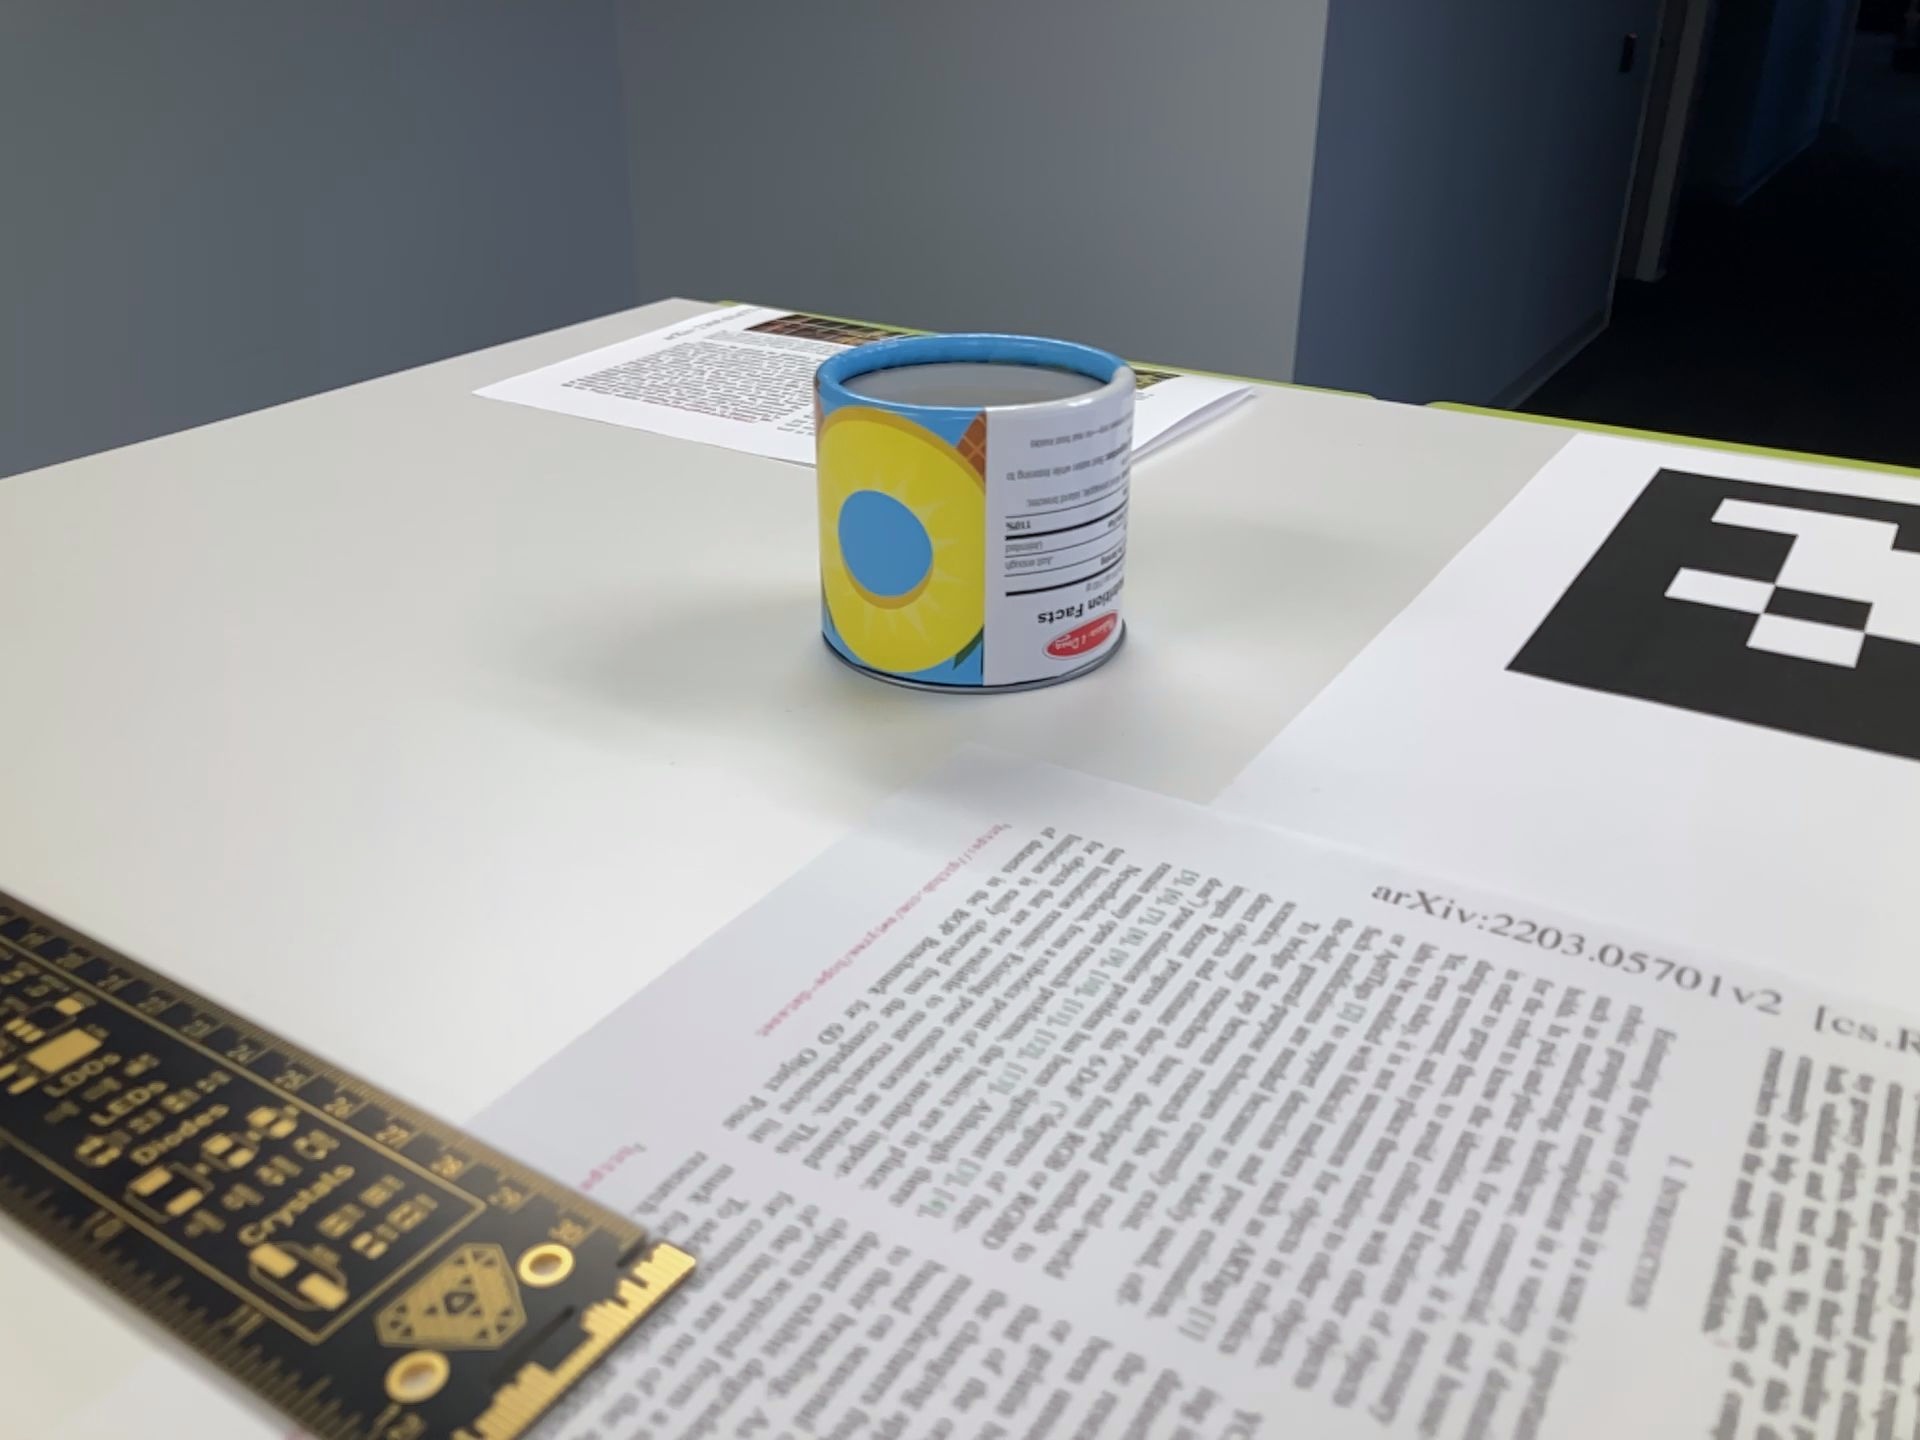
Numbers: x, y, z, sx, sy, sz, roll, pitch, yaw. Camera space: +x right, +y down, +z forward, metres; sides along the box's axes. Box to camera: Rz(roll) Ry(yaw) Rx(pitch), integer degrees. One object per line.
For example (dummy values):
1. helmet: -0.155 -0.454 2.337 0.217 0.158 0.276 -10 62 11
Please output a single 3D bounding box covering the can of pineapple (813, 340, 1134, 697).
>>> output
1. can of pineapple: 0.001 -0.045 0.335 0.071 0.058 0.071 0 26 0
